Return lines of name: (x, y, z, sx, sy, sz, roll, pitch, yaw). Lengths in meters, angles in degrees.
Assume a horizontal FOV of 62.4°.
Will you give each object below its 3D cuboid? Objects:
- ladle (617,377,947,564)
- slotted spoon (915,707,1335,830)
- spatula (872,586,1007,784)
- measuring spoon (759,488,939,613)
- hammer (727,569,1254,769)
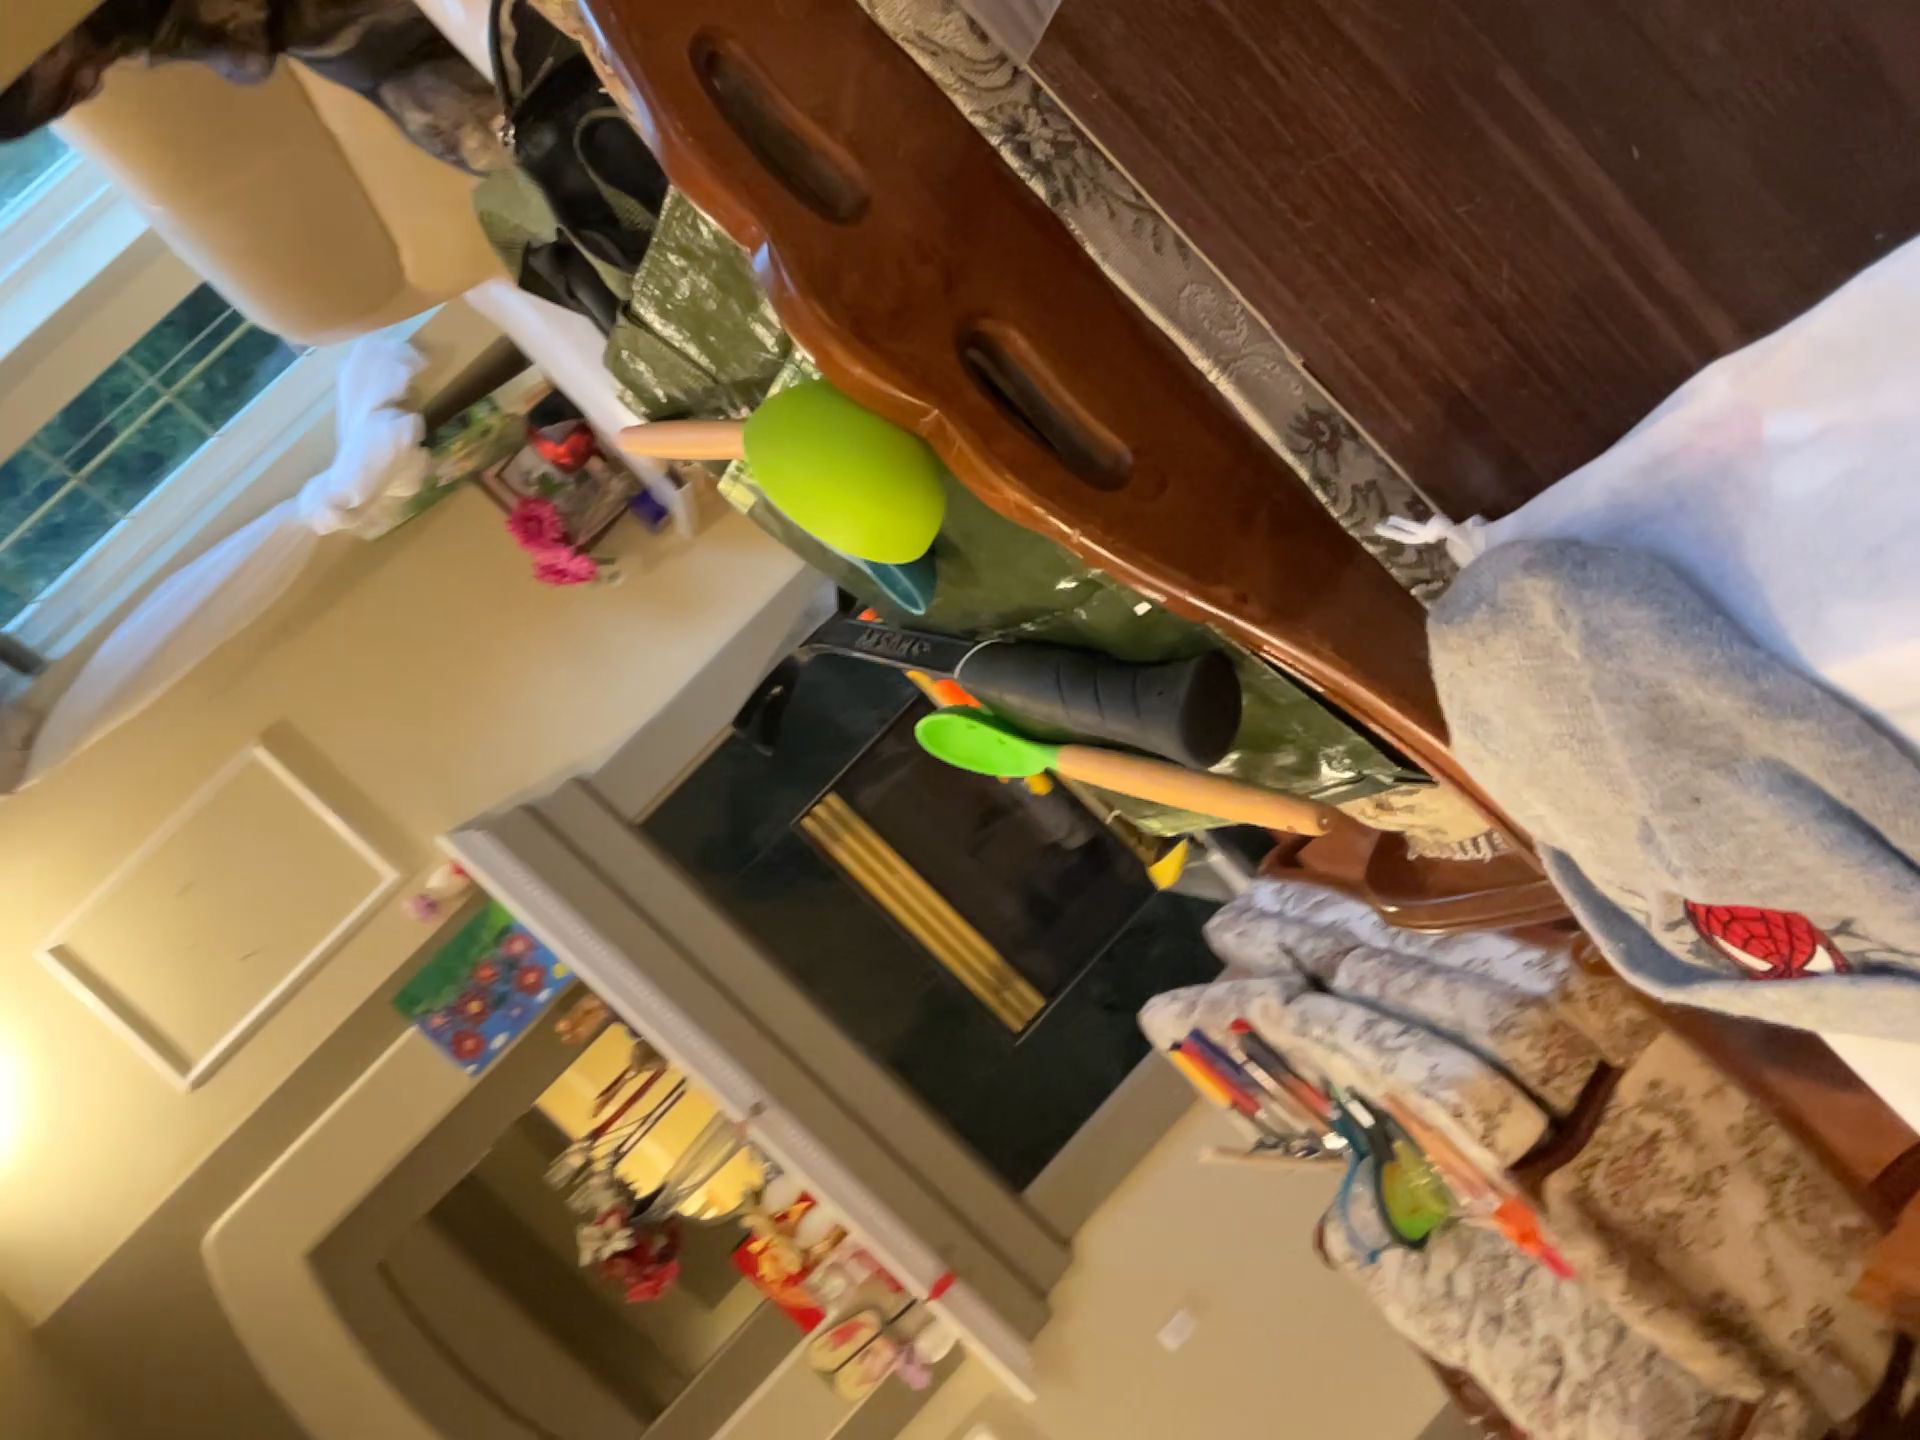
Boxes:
ladle: (-0.098, -0.109, 0.672, 0.078, 0.062, 0.320, 20, 179, -30)
slotted spoon: (0.068, 0.023, 0.752, 0.070, 0.031, 0.314, 32, 170, -27)
spatula: (-0.065, -0.091, 1.010, 0.322, 0.041, 0.081, 47, -179, 5)
measuring spoon: (-0.048, -0.084, 0.687, 0.129, 0.021, 0.042, 36, 167, 43)
hammer: (0.000, -0.025, 0.750, 0.036, 0.149, 0.409, 39, 170, -27)
